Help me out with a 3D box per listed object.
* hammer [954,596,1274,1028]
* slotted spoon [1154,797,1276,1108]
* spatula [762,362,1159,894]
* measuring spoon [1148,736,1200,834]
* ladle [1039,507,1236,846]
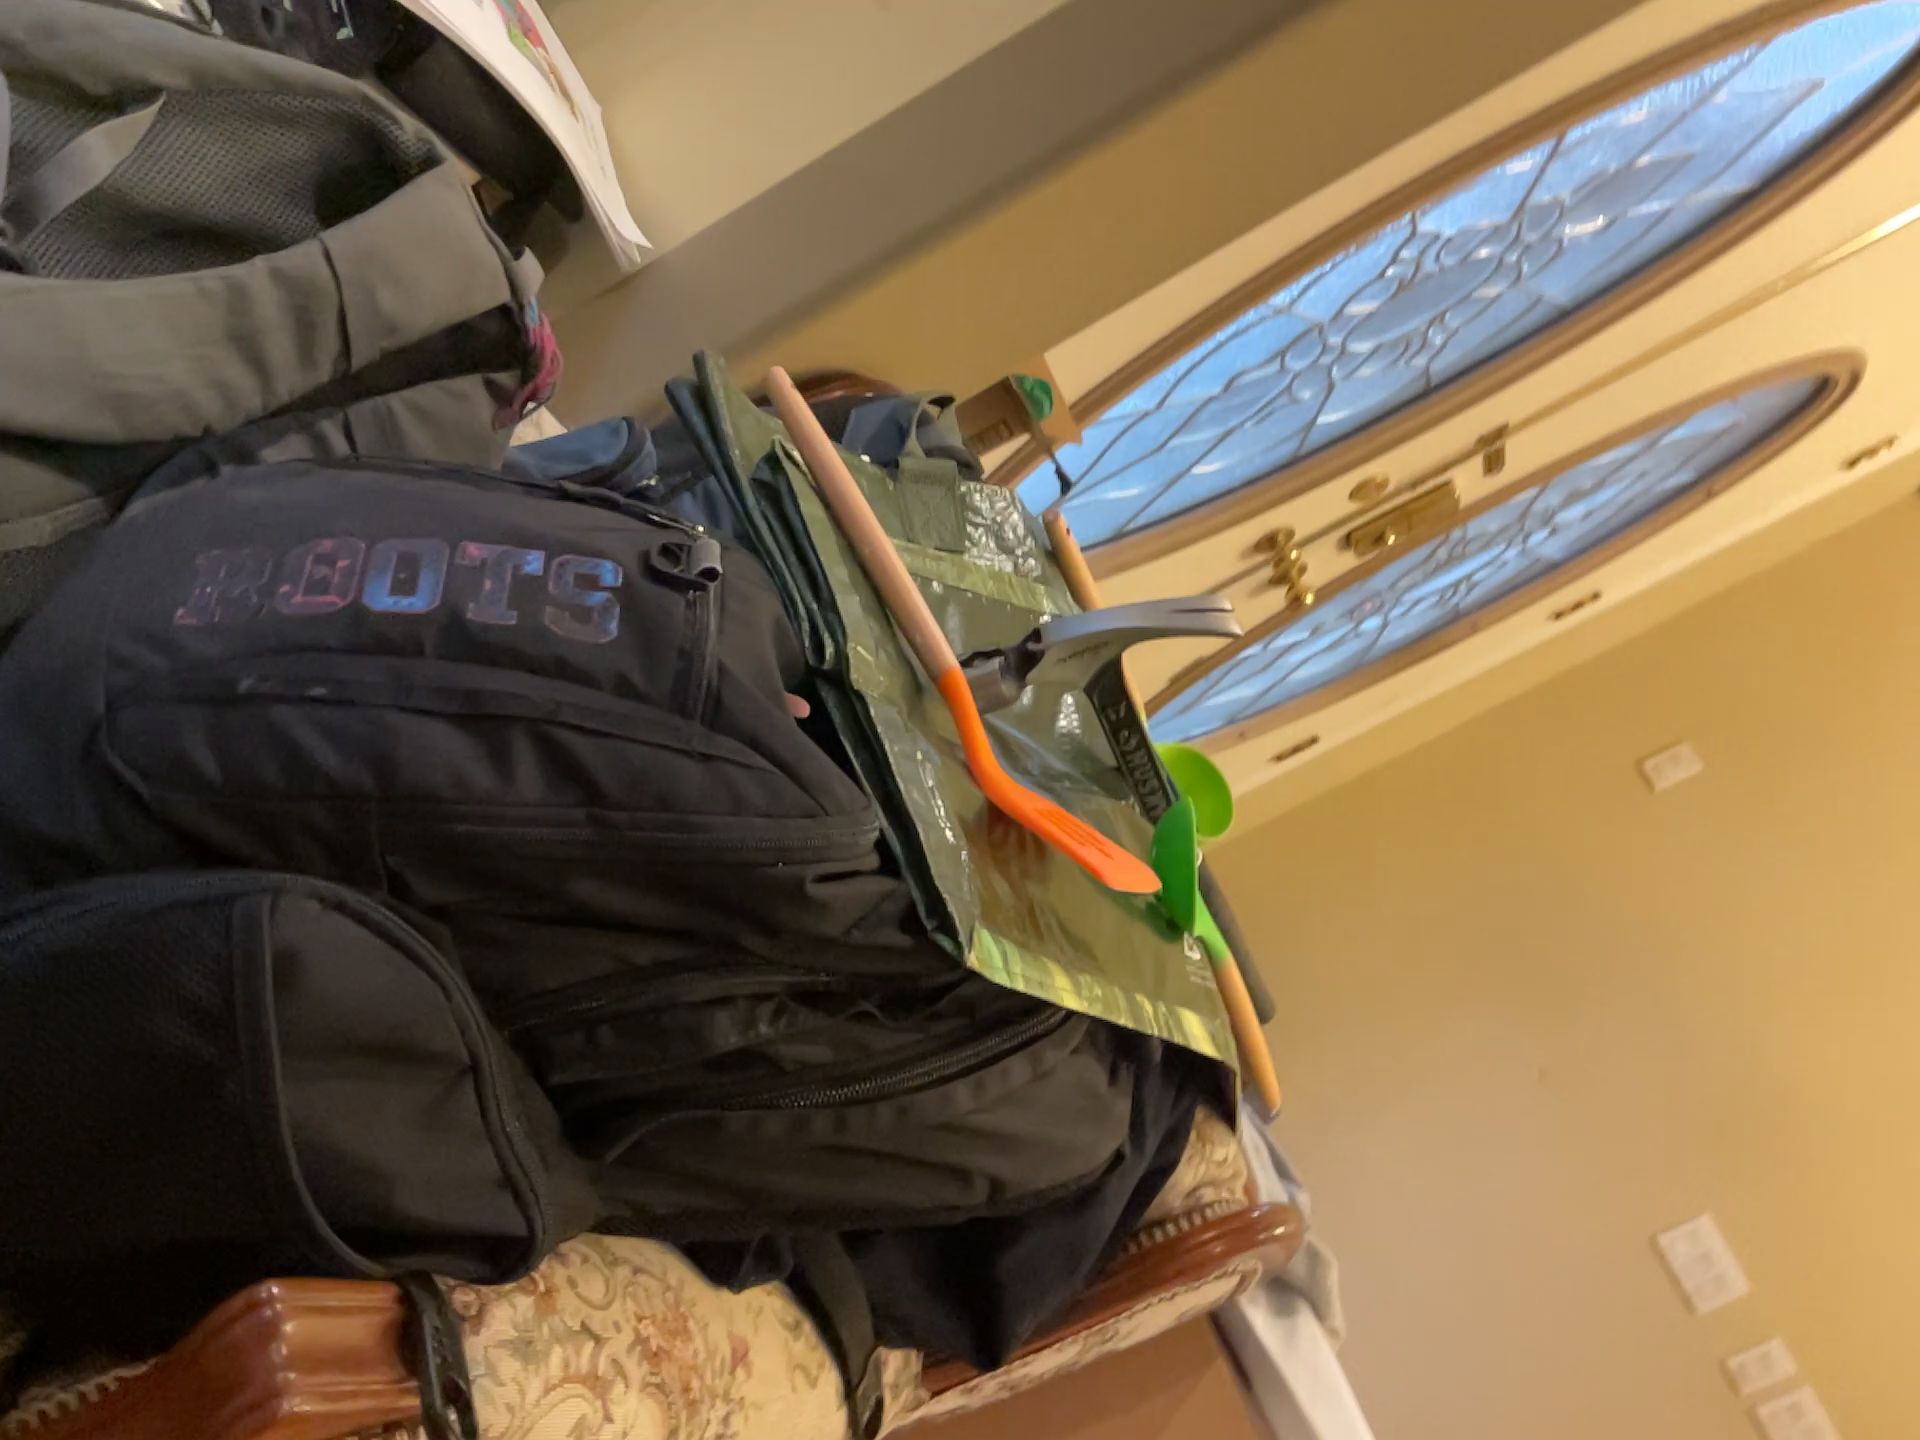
[{"bbox_3d":[0.132,0.076,0.950,0.408,0.149,0.036,61,15,-45],"label":"hammer"},{"bbox_3d":[0.154,0.151,0.924,0.313,0.031,0.070,65,19,-46],"label":"slotted spoon"},{"bbox_3d":[-0.011,-0.047,0.750,0.323,0.041,0.081,60,16,17],"label":"spatula"},{"bbox_3d":[0.120,0.027,1.036,0.128,0.021,0.042,58,7,-23],"label":"measuring spoon"},{"bbox_3d":[0.120,-0.025,1.063,0.319,0.062,0.078,61,32,-44],"label":"ladle"}]
